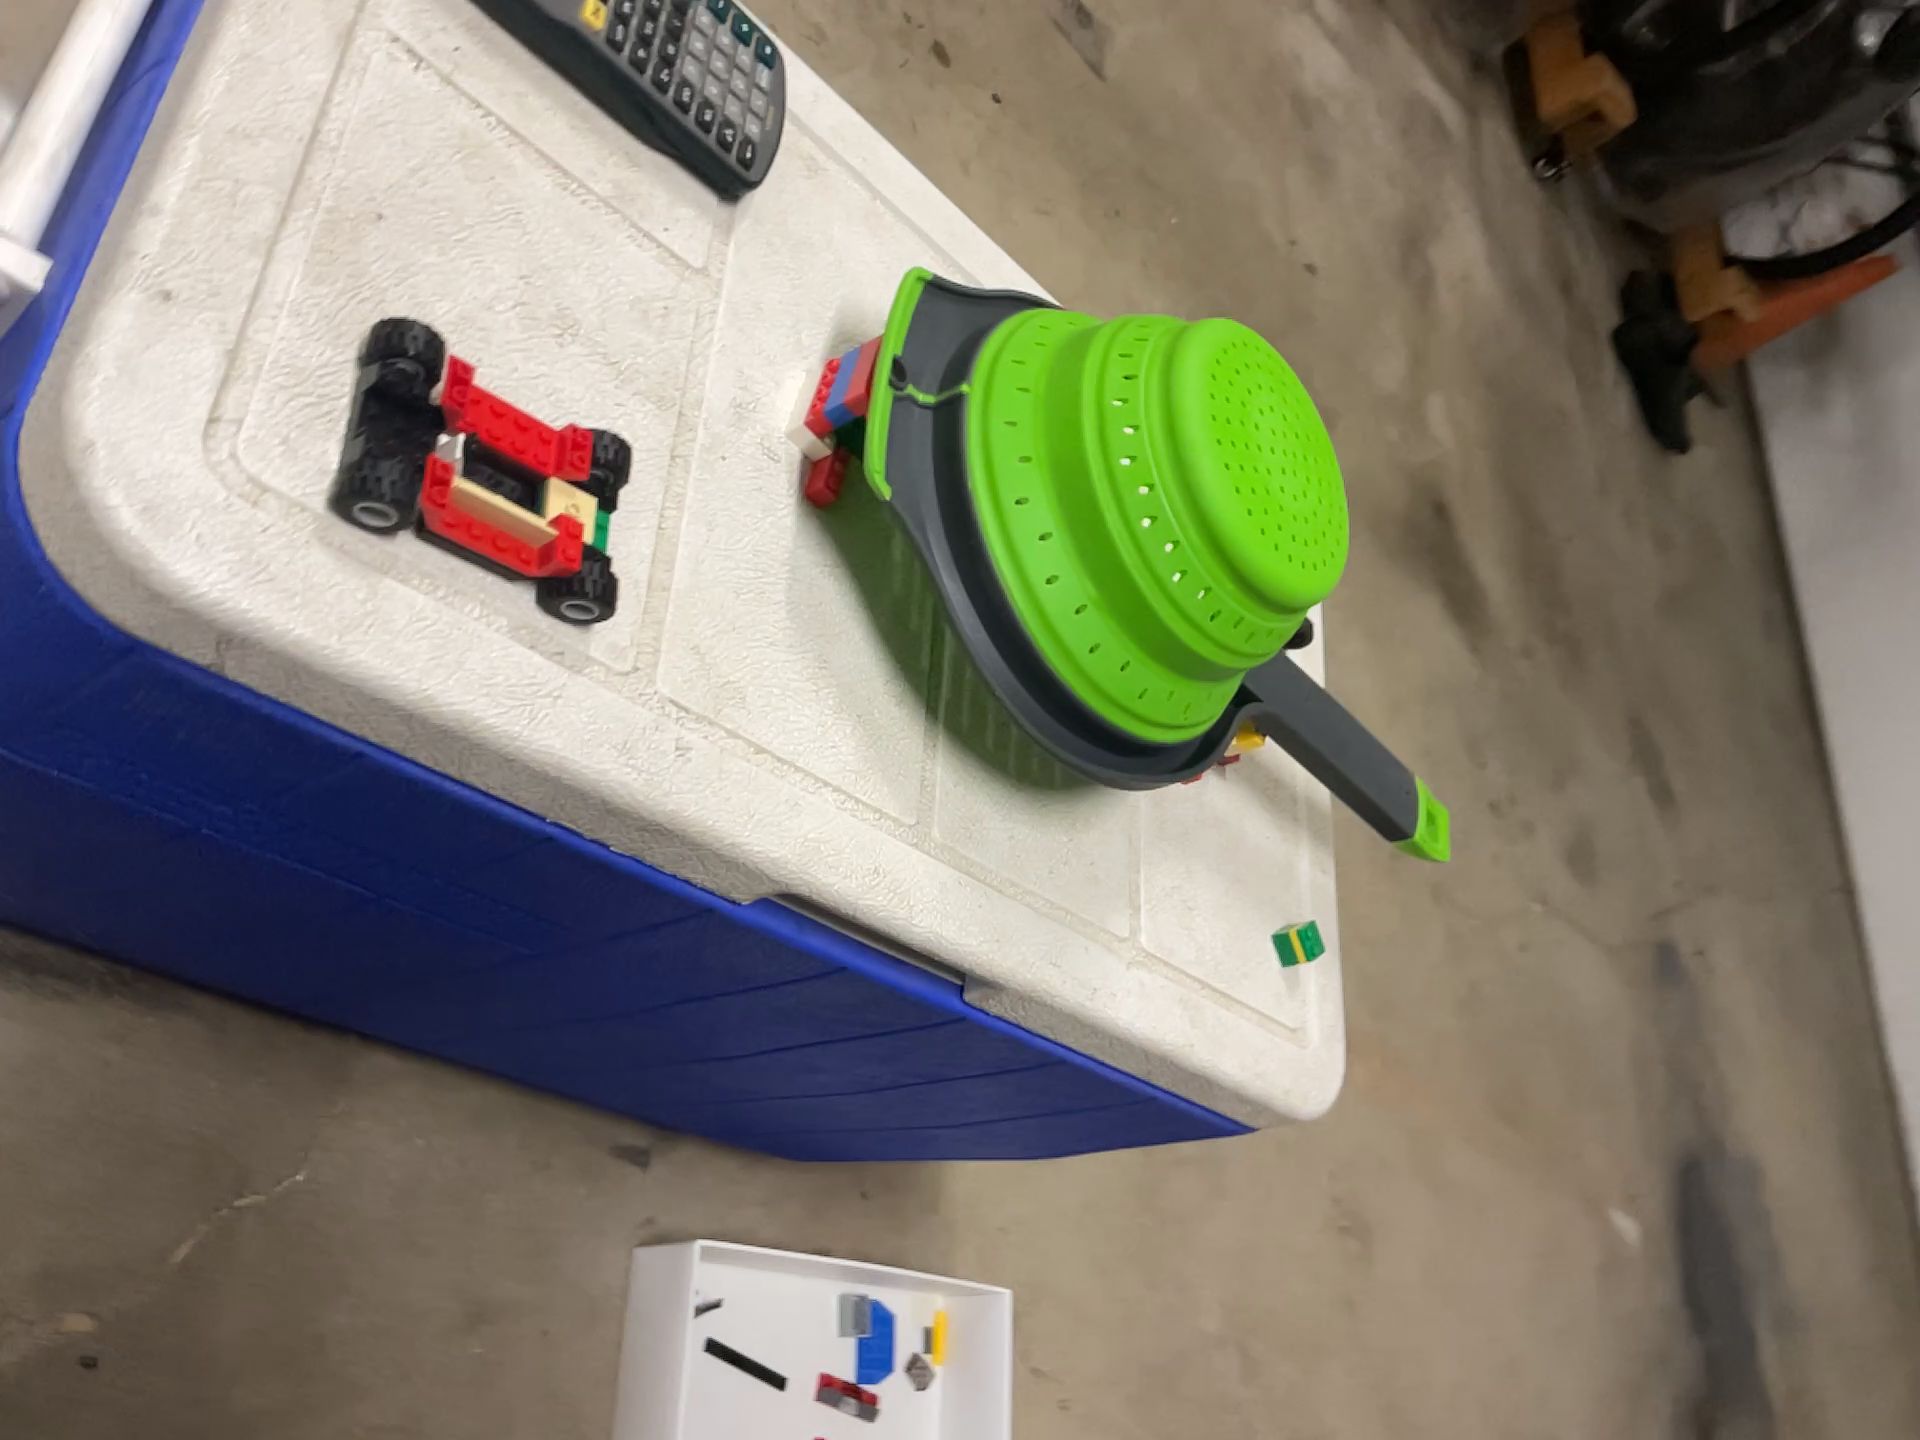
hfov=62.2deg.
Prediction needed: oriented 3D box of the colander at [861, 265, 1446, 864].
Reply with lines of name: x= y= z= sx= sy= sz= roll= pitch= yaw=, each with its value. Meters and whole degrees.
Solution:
colander: x=0.131 y=-0.043 z=0.642 sx=0.396 sy=0.094 sz=0.205 roll=36 pitch=49 yaw=-37
